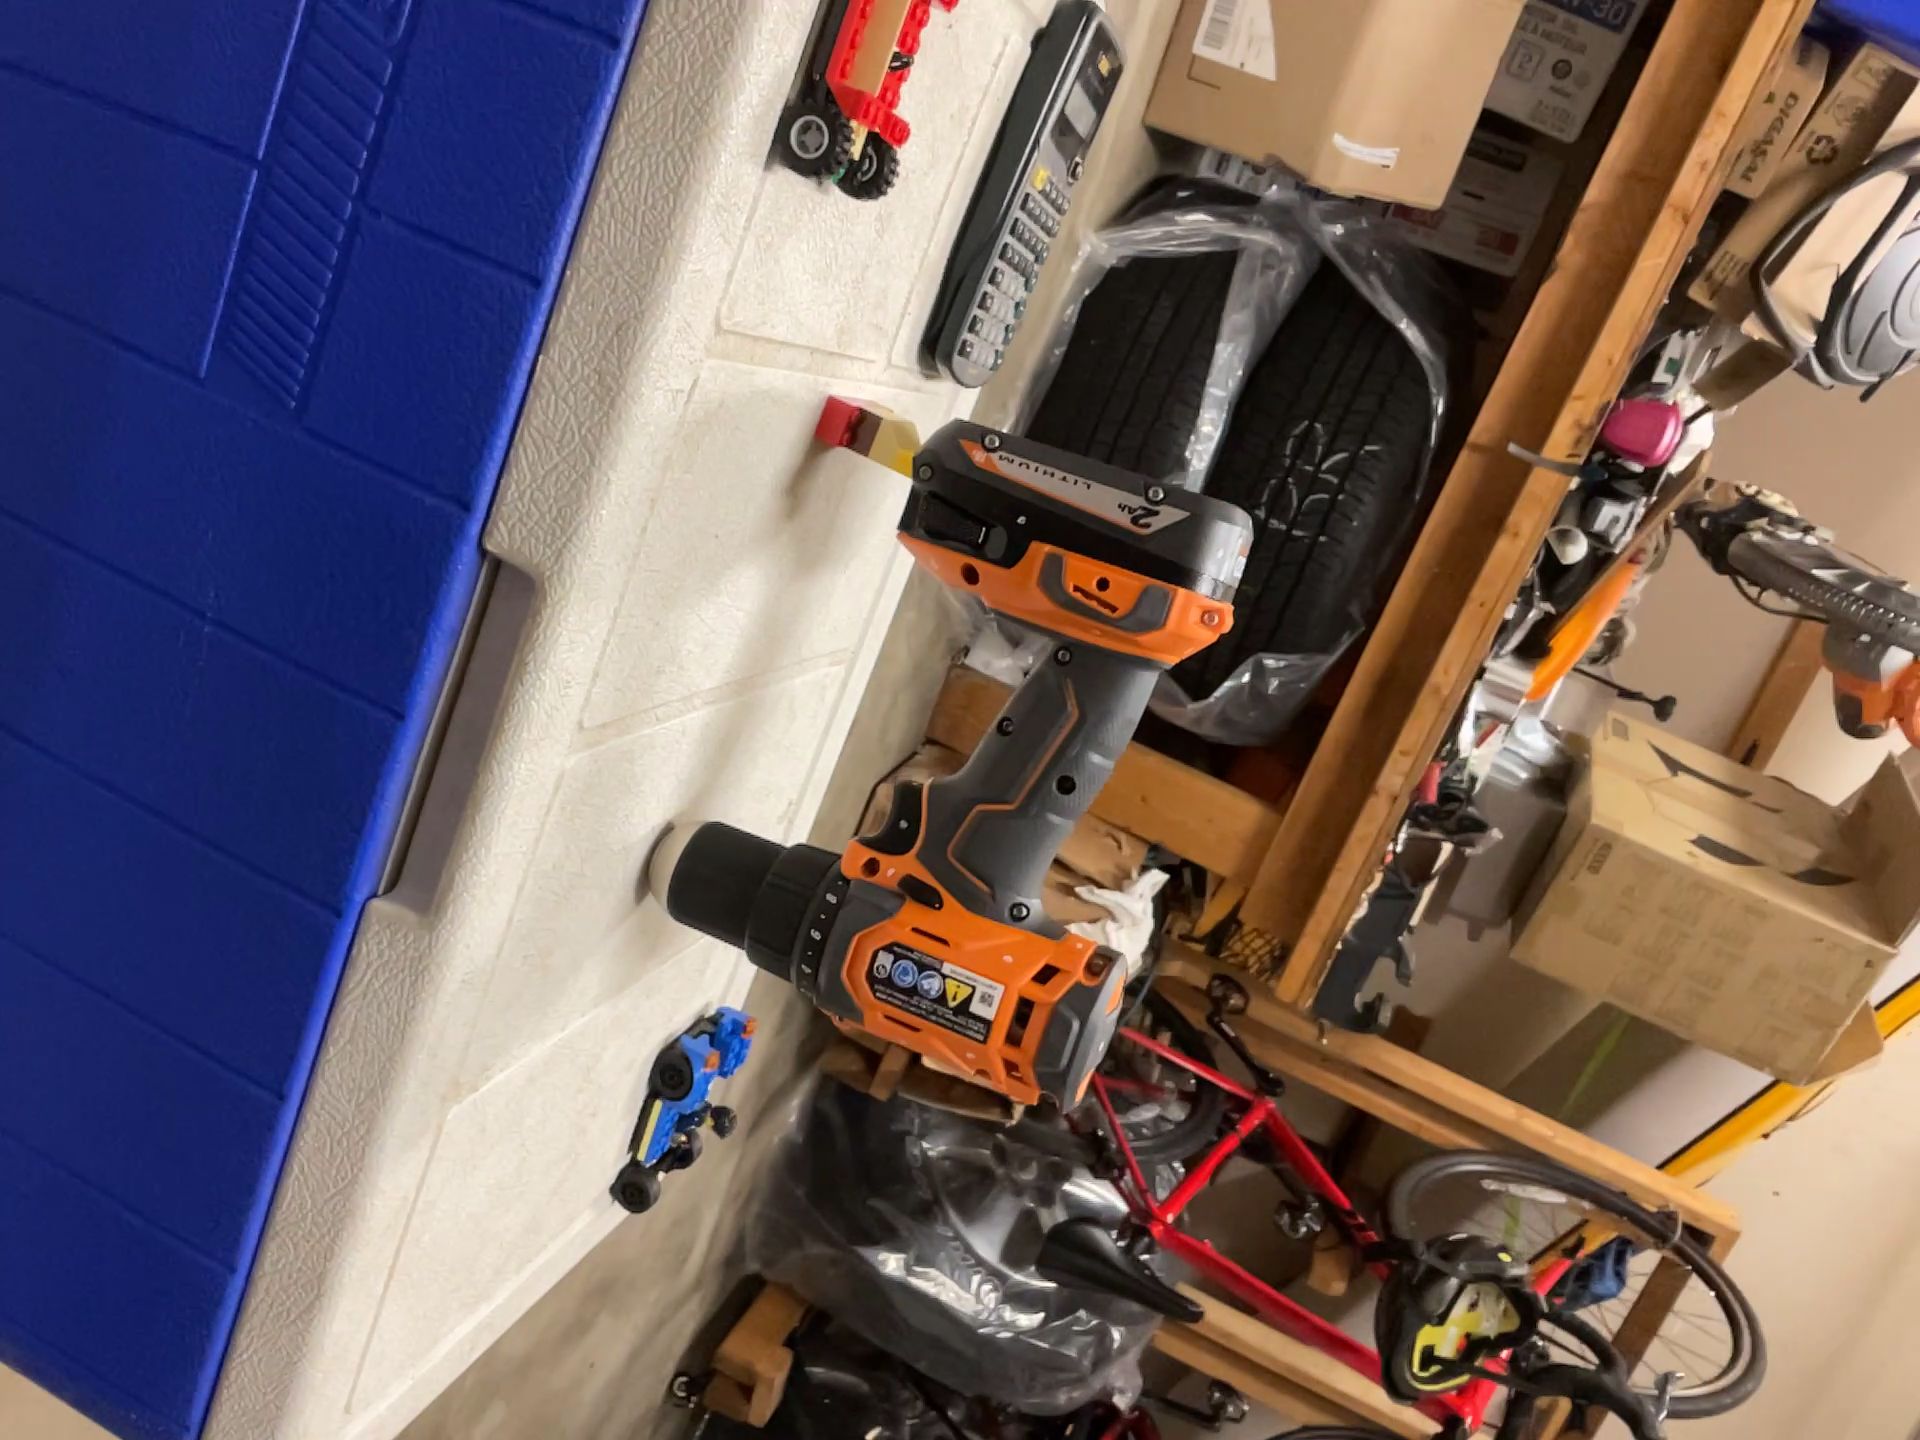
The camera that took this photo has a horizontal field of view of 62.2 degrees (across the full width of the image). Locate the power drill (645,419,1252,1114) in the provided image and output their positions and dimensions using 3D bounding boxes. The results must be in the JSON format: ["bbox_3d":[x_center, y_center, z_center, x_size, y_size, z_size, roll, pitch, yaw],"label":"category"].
[{"bbox_3d":[-0.007,0.009,0.587,0.084,0.185,0.226,-9,118,-75],"label":"power drill"}]
